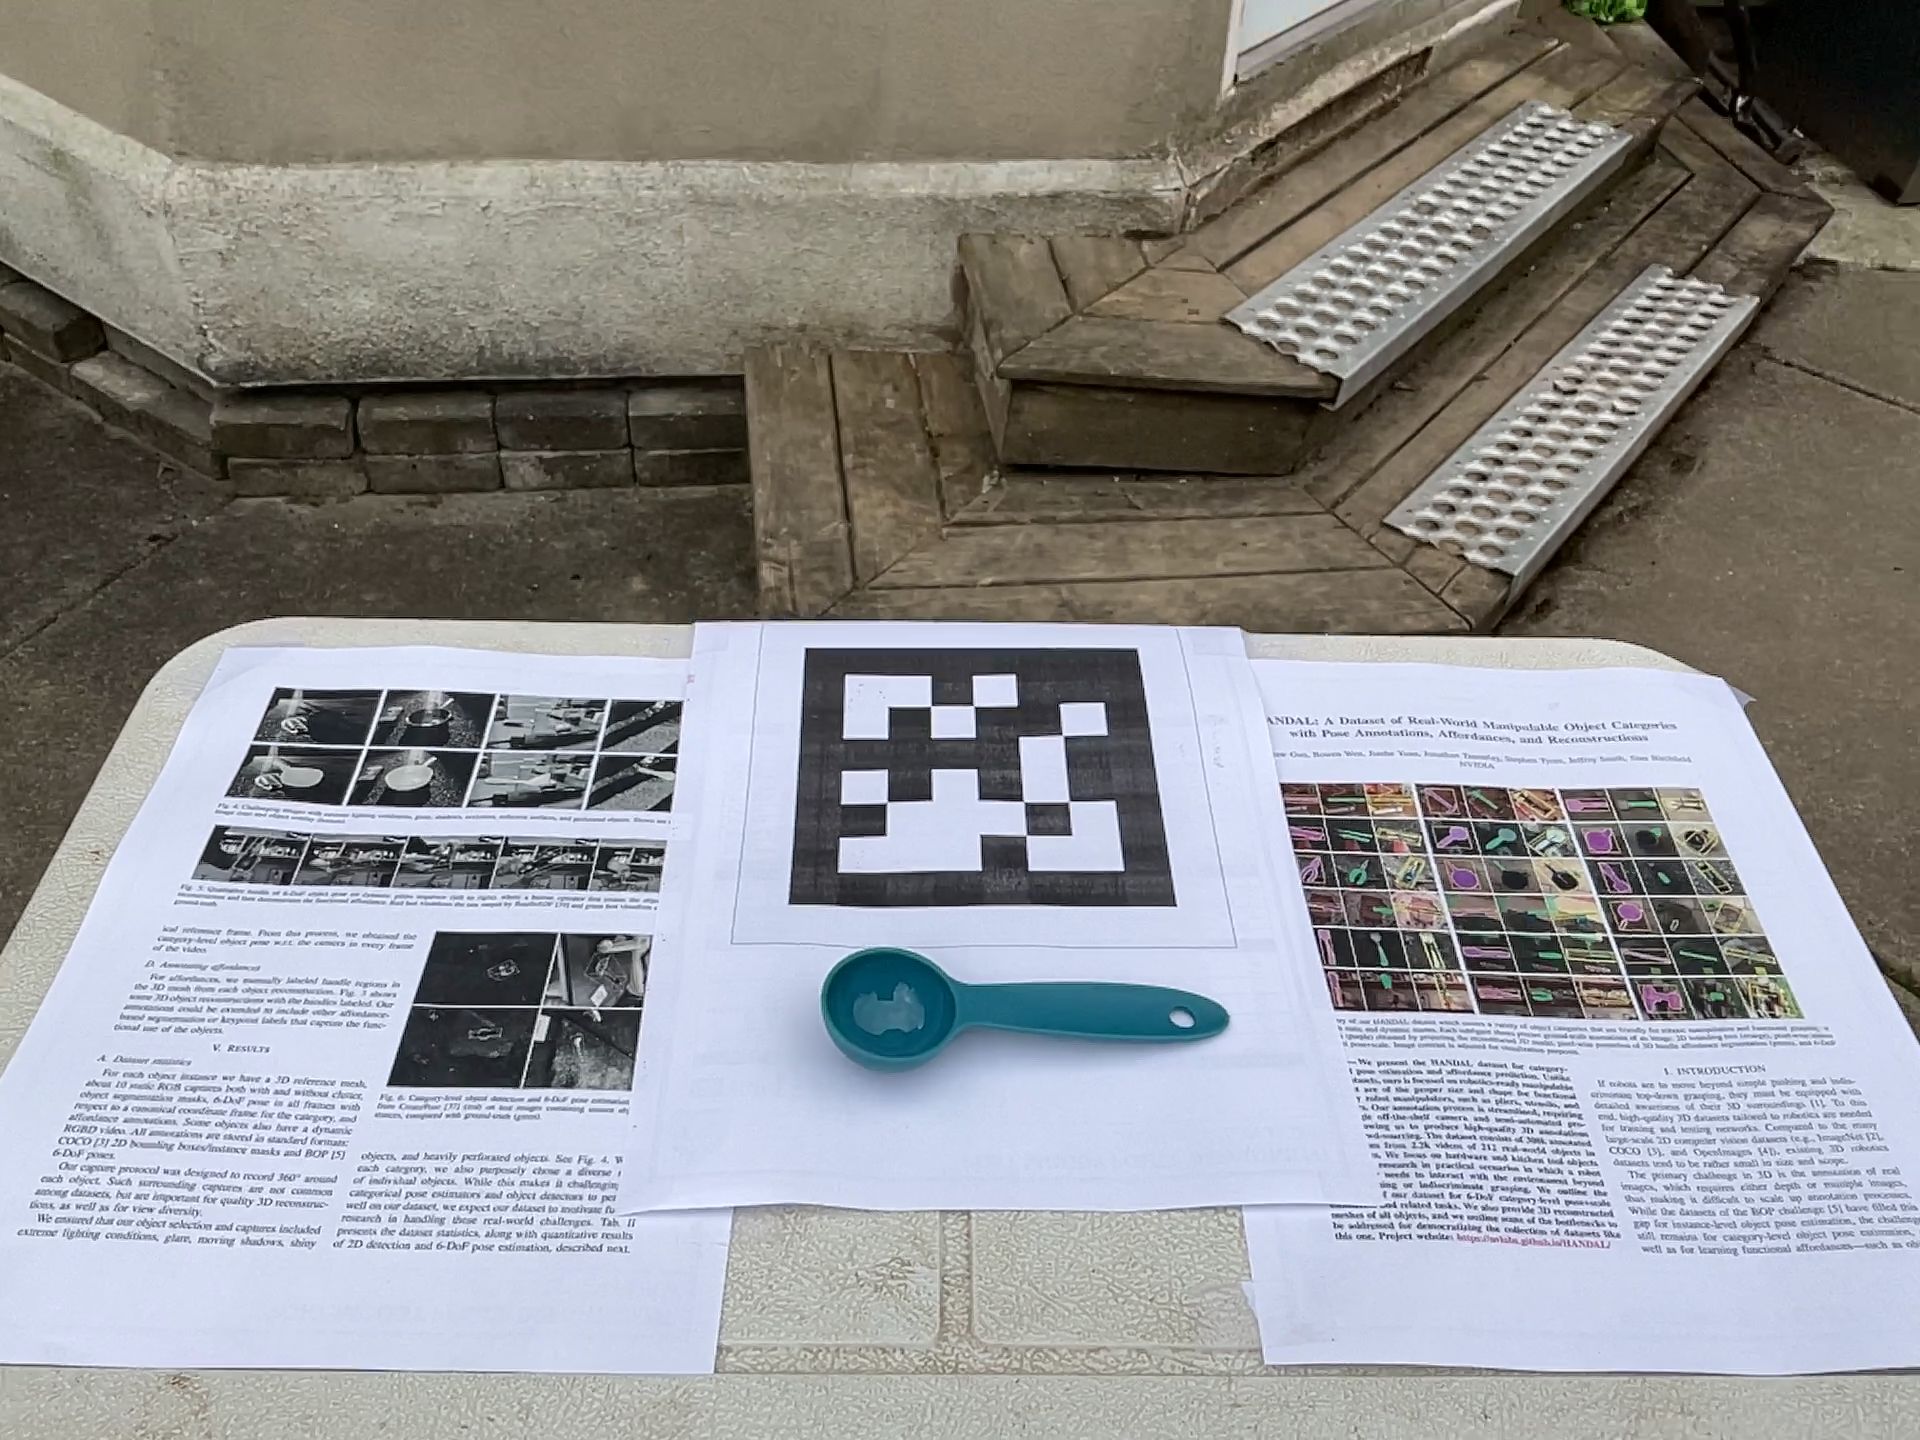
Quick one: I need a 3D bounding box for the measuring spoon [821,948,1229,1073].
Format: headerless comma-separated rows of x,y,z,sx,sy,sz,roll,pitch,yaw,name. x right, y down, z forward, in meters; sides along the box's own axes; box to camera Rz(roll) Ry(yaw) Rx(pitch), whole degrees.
0.020,0.095,0.494,0.128,0.021,0.042,5,42,-11,measuring spoon
